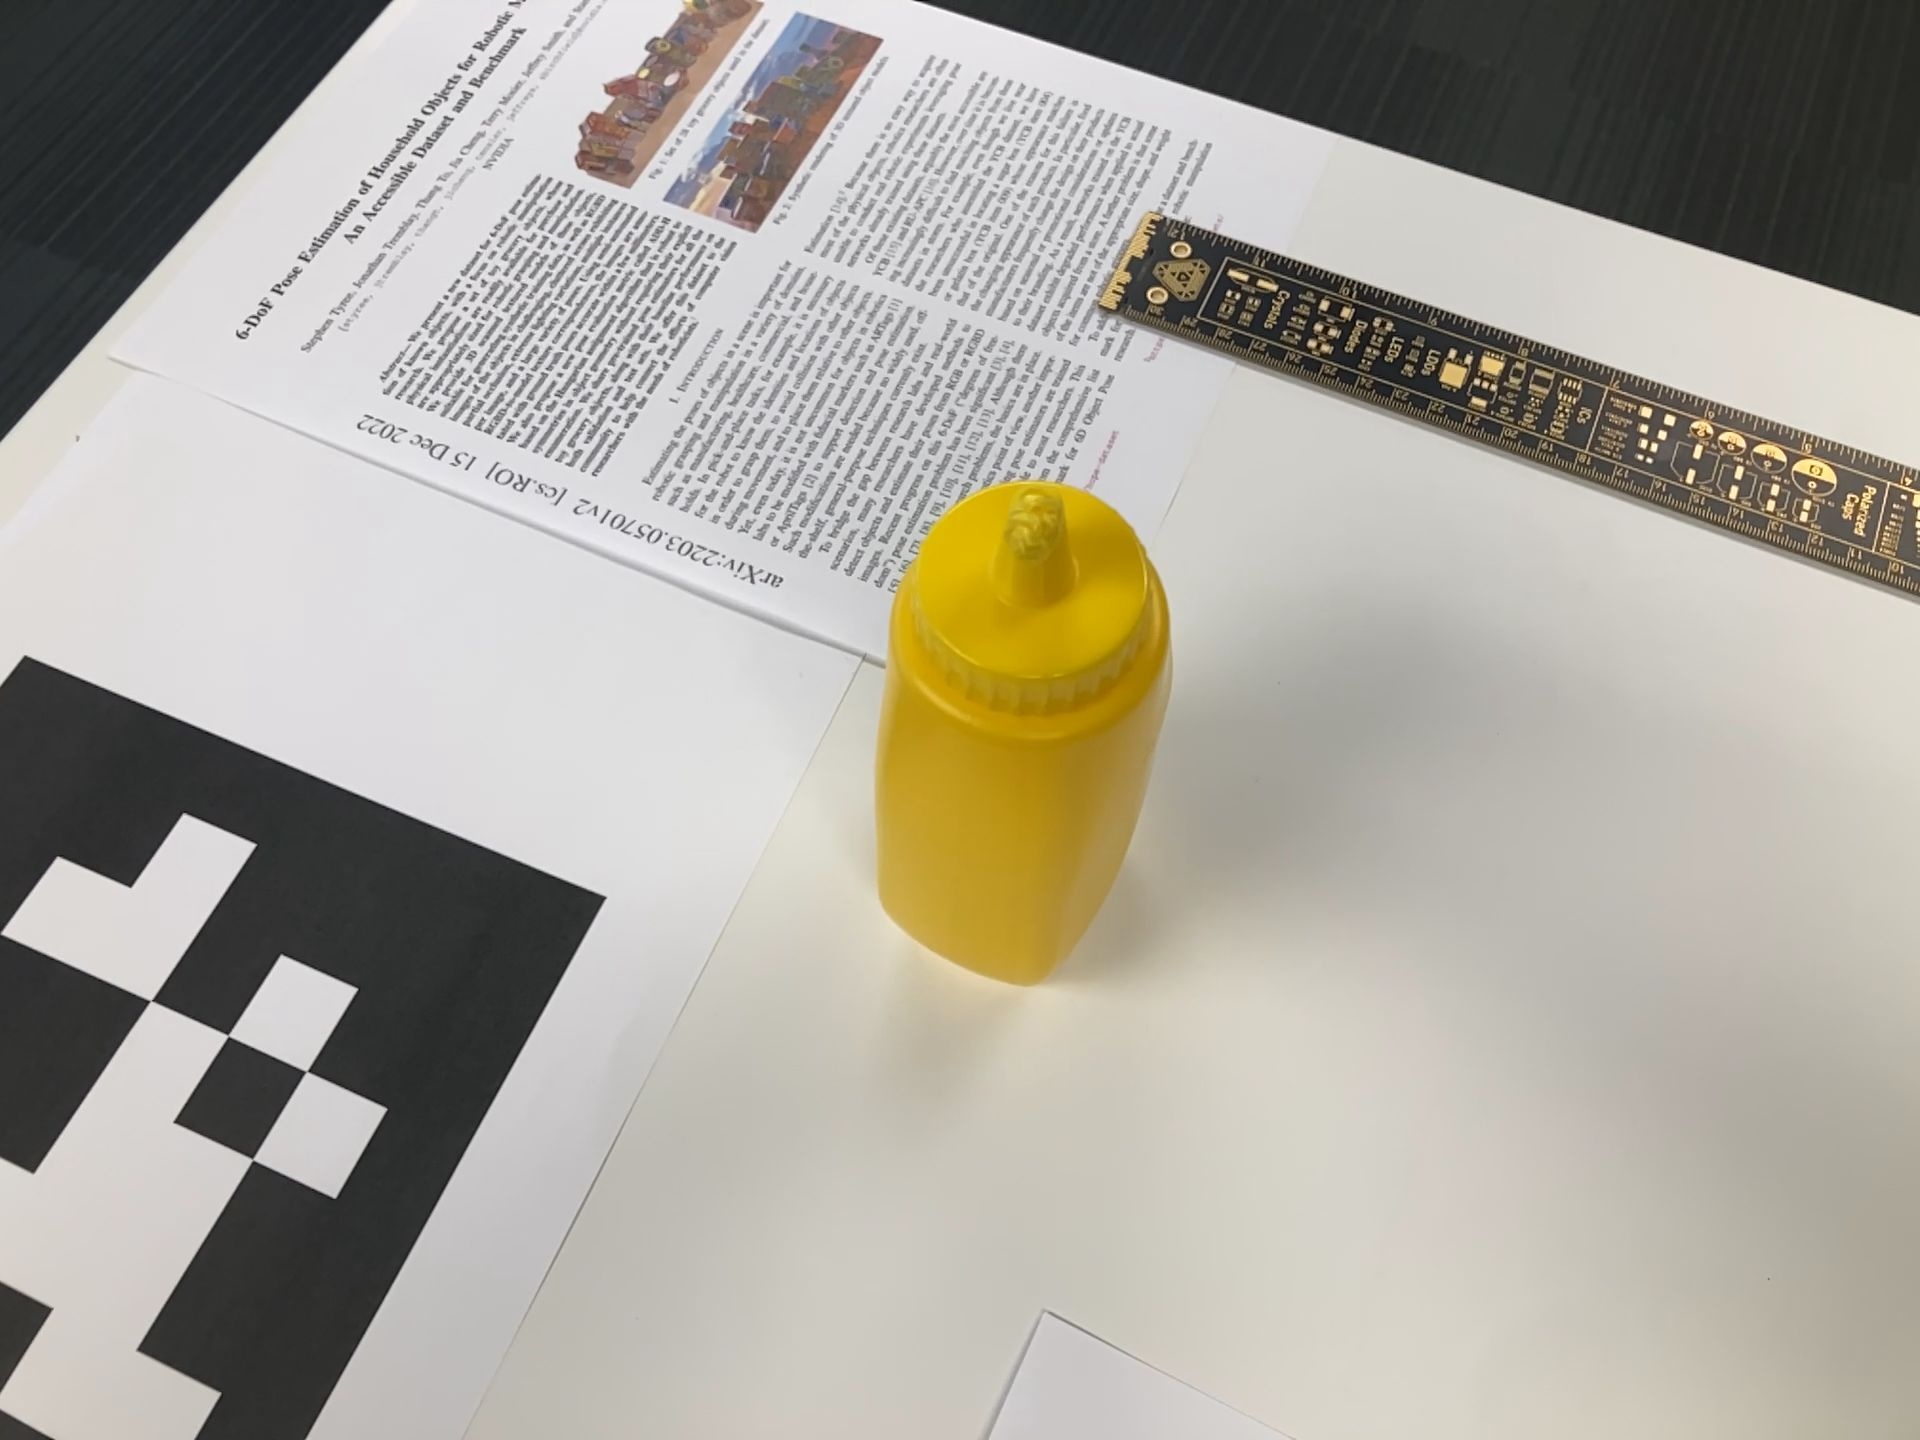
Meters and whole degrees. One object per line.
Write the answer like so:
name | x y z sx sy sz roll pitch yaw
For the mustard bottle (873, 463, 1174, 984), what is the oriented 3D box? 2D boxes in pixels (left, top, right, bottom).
mustard bottle | 0.012 -0.002 0.298 0.049 0.160 0.065 25 64 13
